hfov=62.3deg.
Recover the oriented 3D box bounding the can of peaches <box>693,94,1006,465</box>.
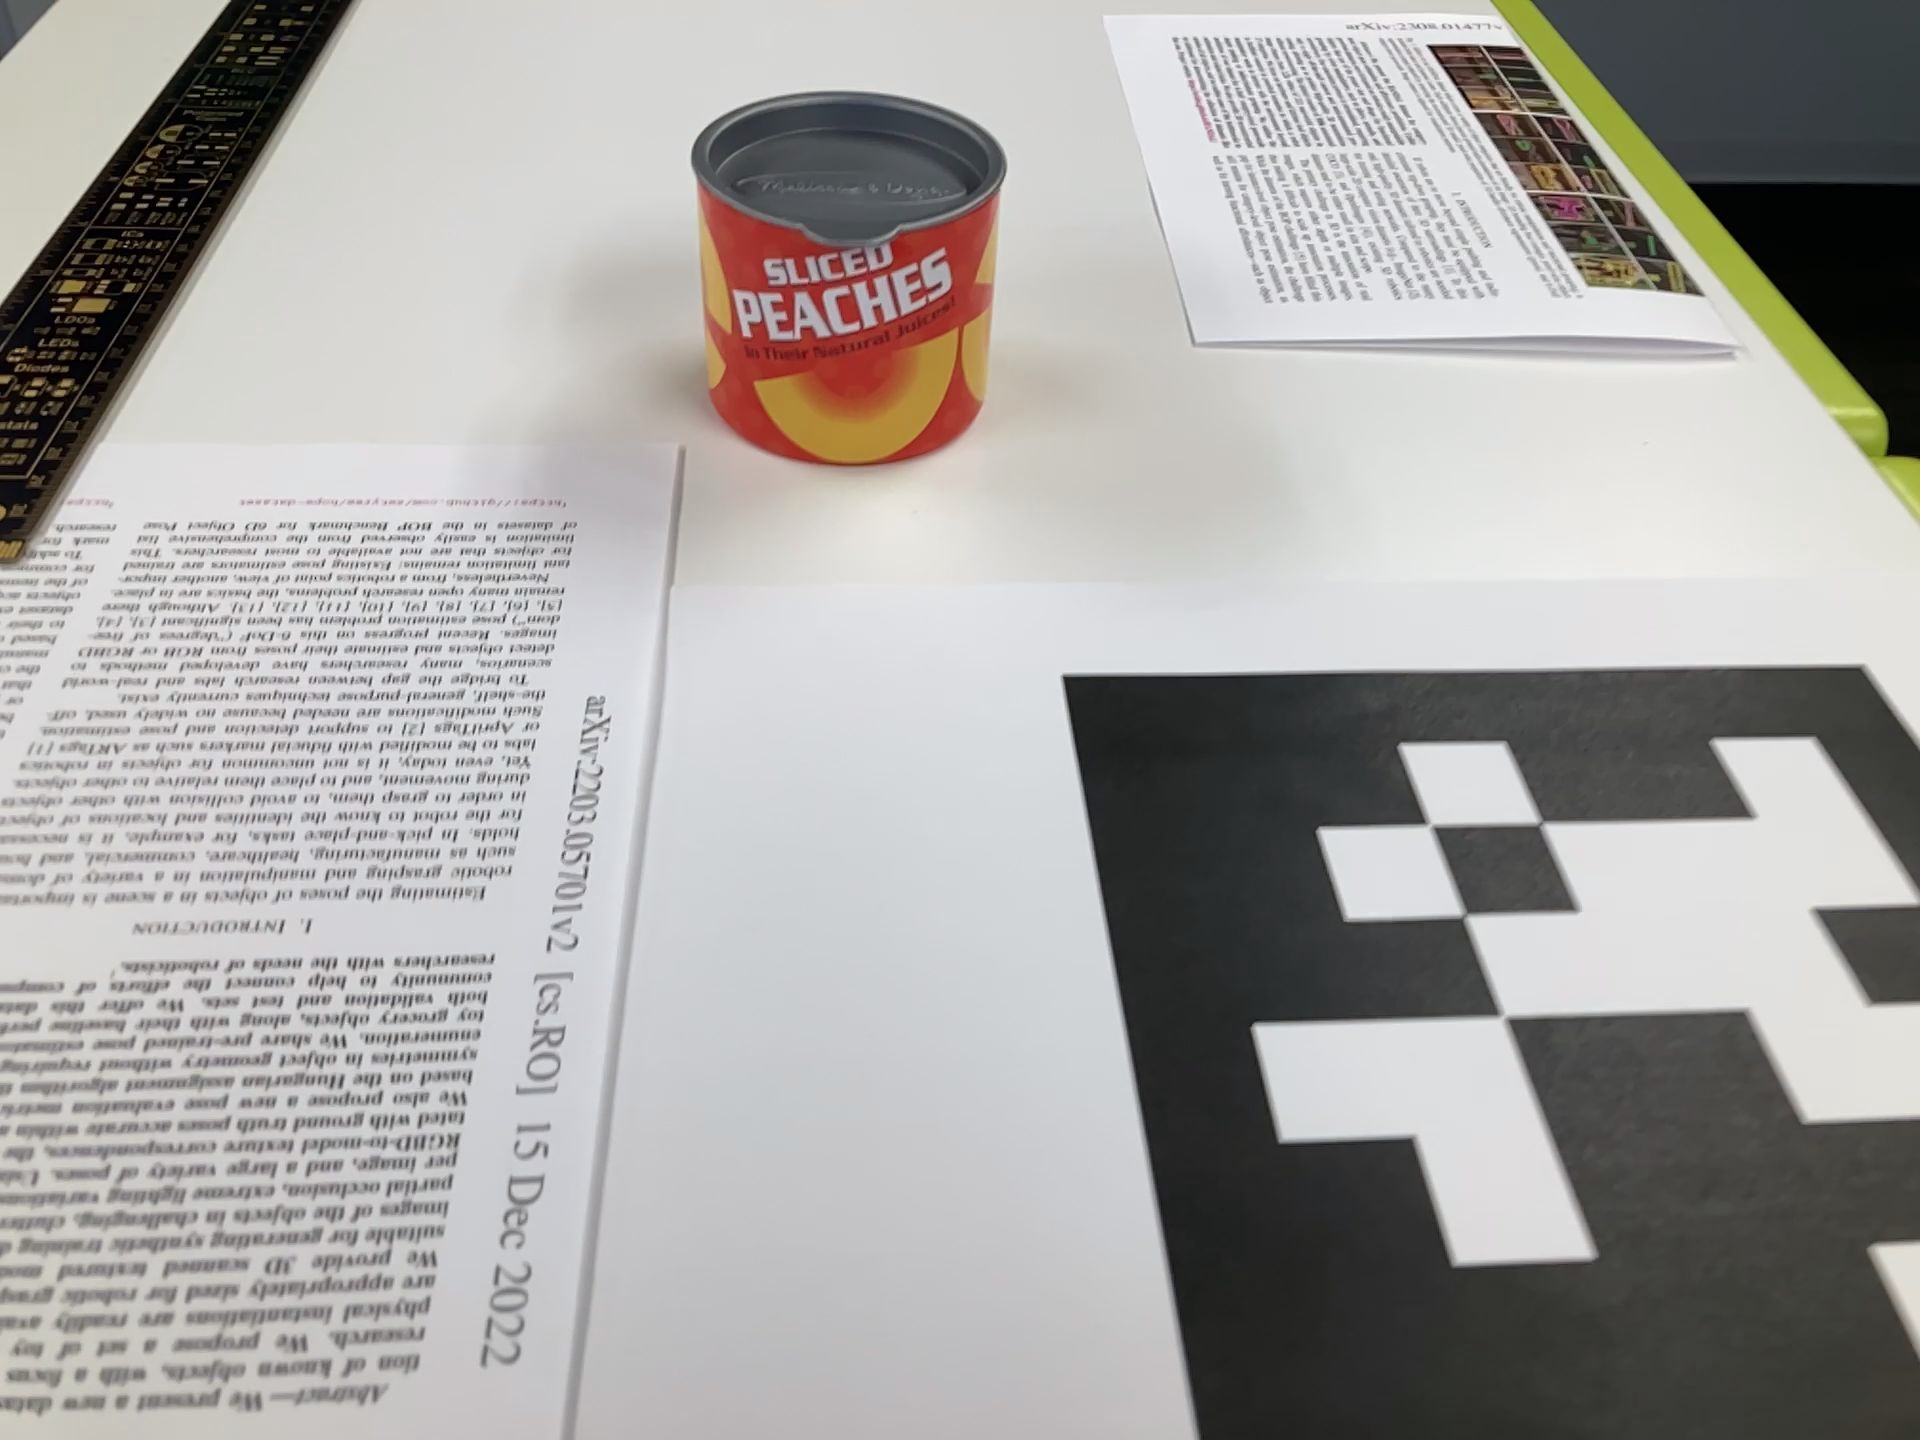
[{"bbox_3d":[-0.025,-0.097,0.354,0.071,0.058,0.071,2,44,-2],"label":"can of peaches"}]
